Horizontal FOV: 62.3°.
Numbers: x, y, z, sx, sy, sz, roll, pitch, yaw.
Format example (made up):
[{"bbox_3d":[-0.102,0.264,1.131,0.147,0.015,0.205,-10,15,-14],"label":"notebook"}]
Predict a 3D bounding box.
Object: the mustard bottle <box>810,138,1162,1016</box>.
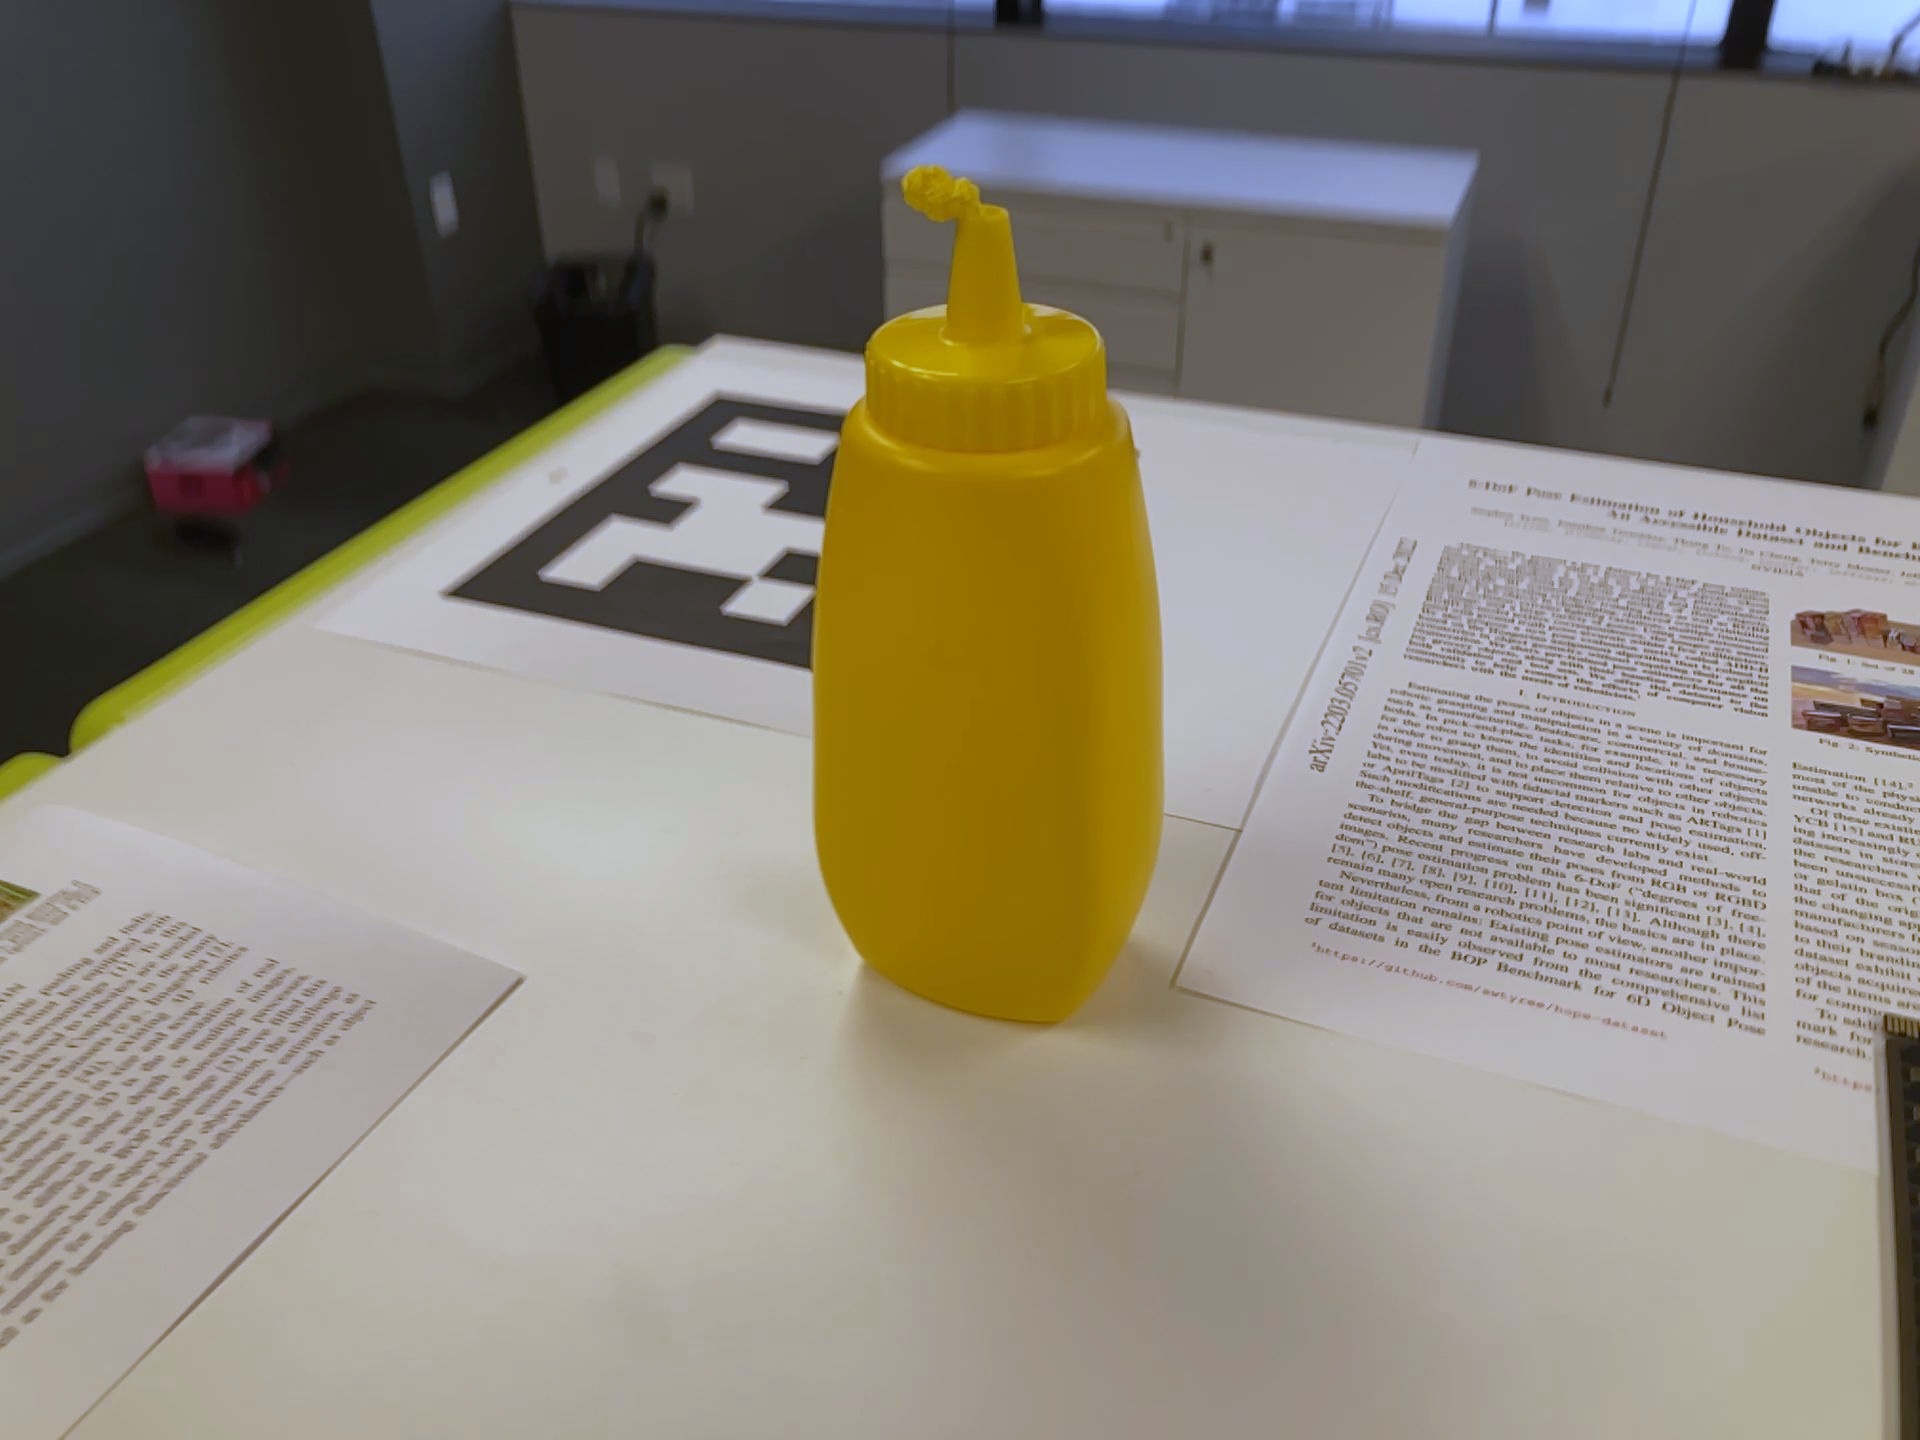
[{"bbox_3d":[0.005,-0.021,0.285,0.065,0.160,0.049,16,36,23],"label":"mustard bottle"}]
